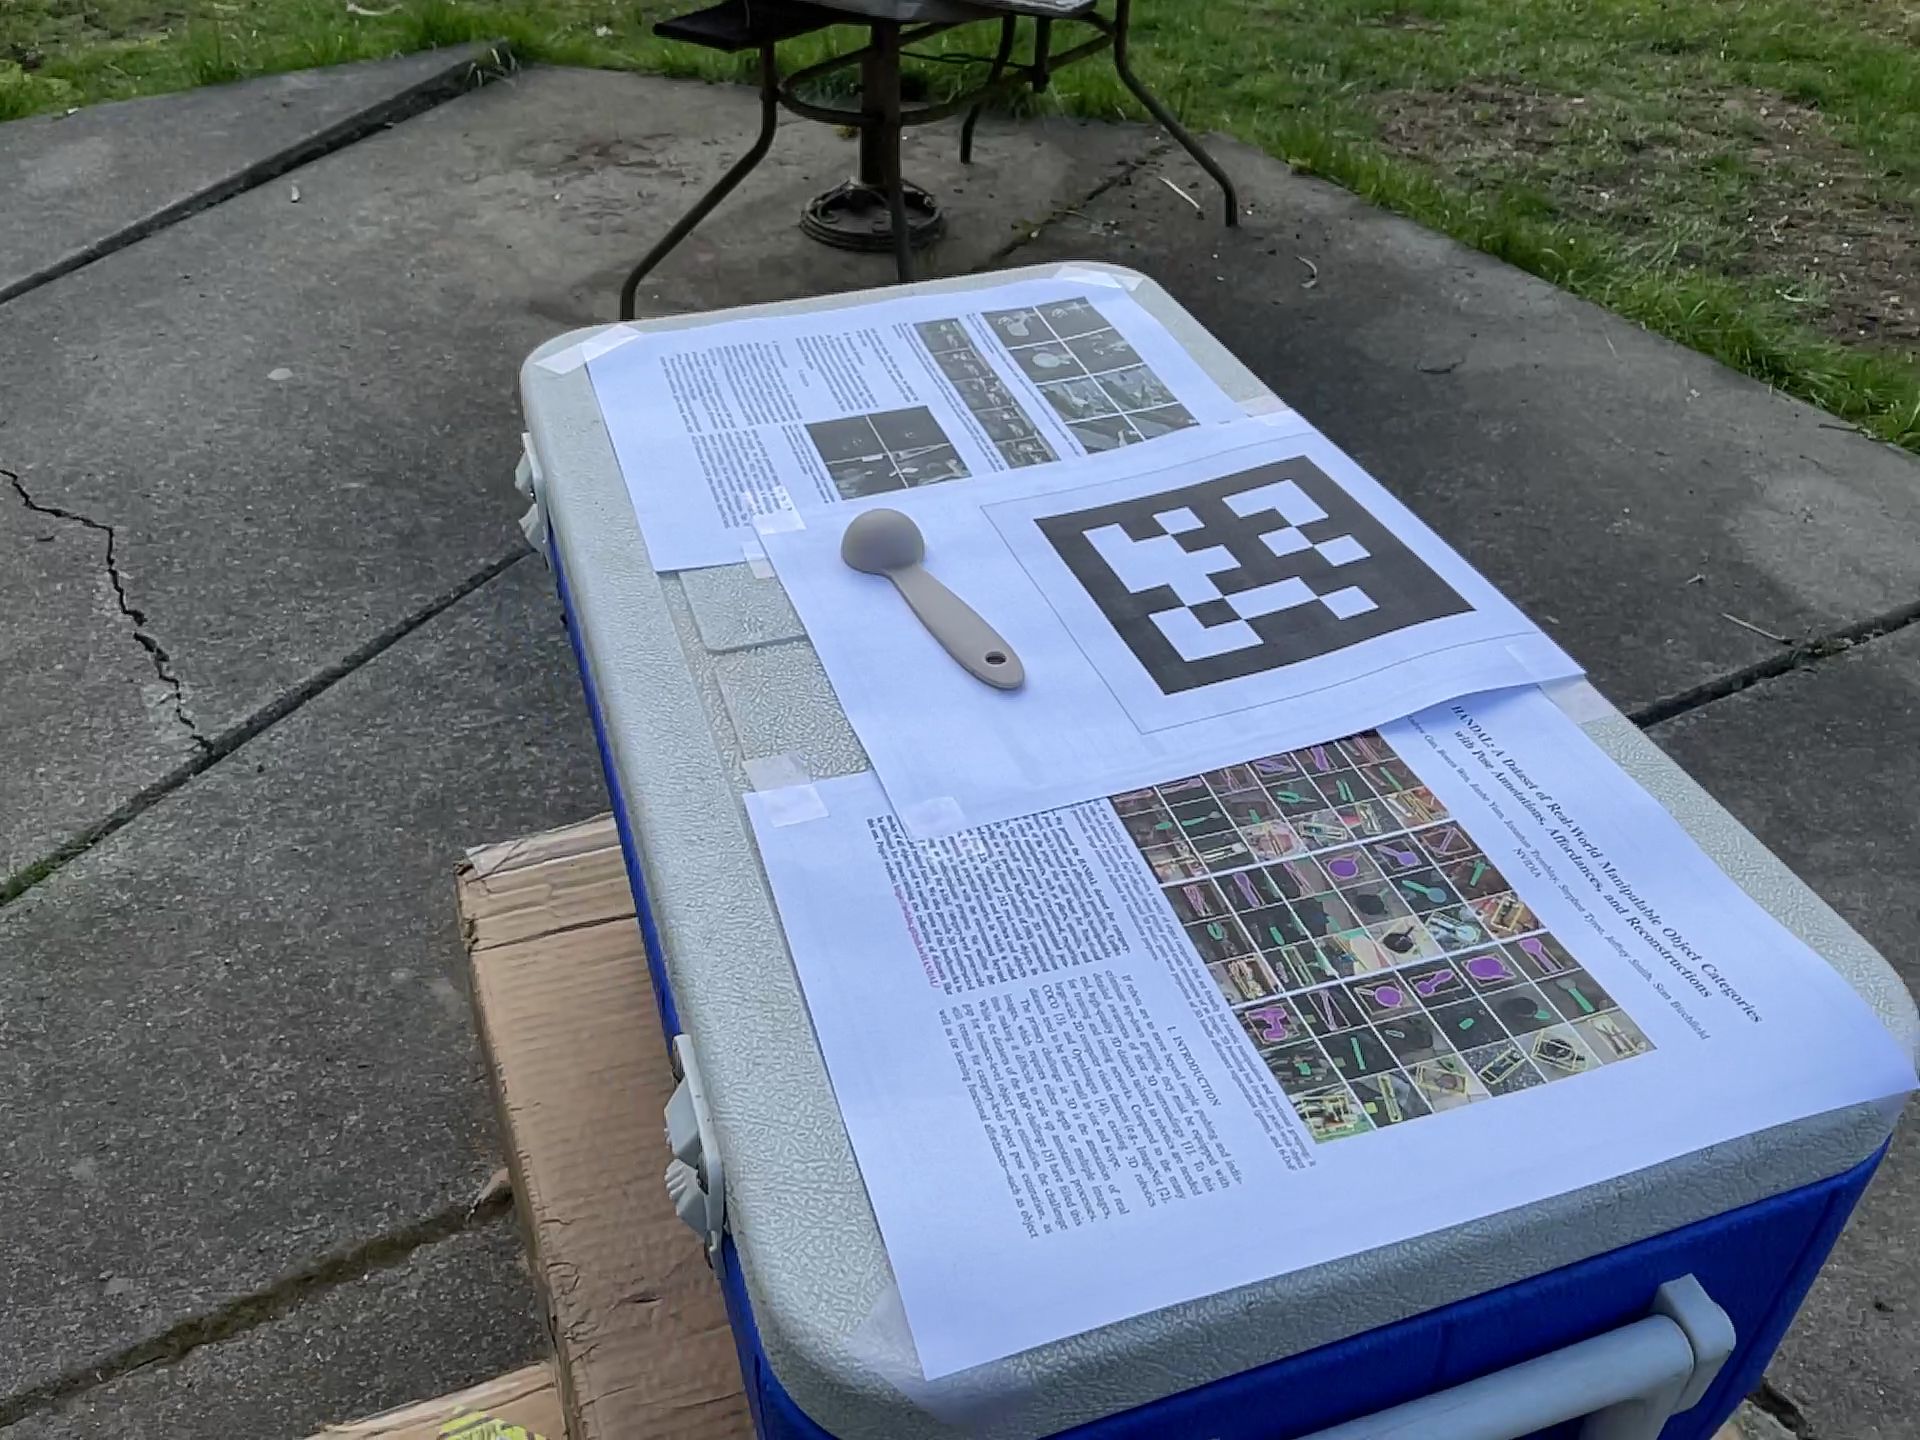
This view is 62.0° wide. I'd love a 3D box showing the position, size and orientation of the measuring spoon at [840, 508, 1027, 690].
[{"bbox_3d":[-0.009,-0.050,0.603,0.034,0.018,0.124,-19,42,-22],"label":"measuring spoon"}]
